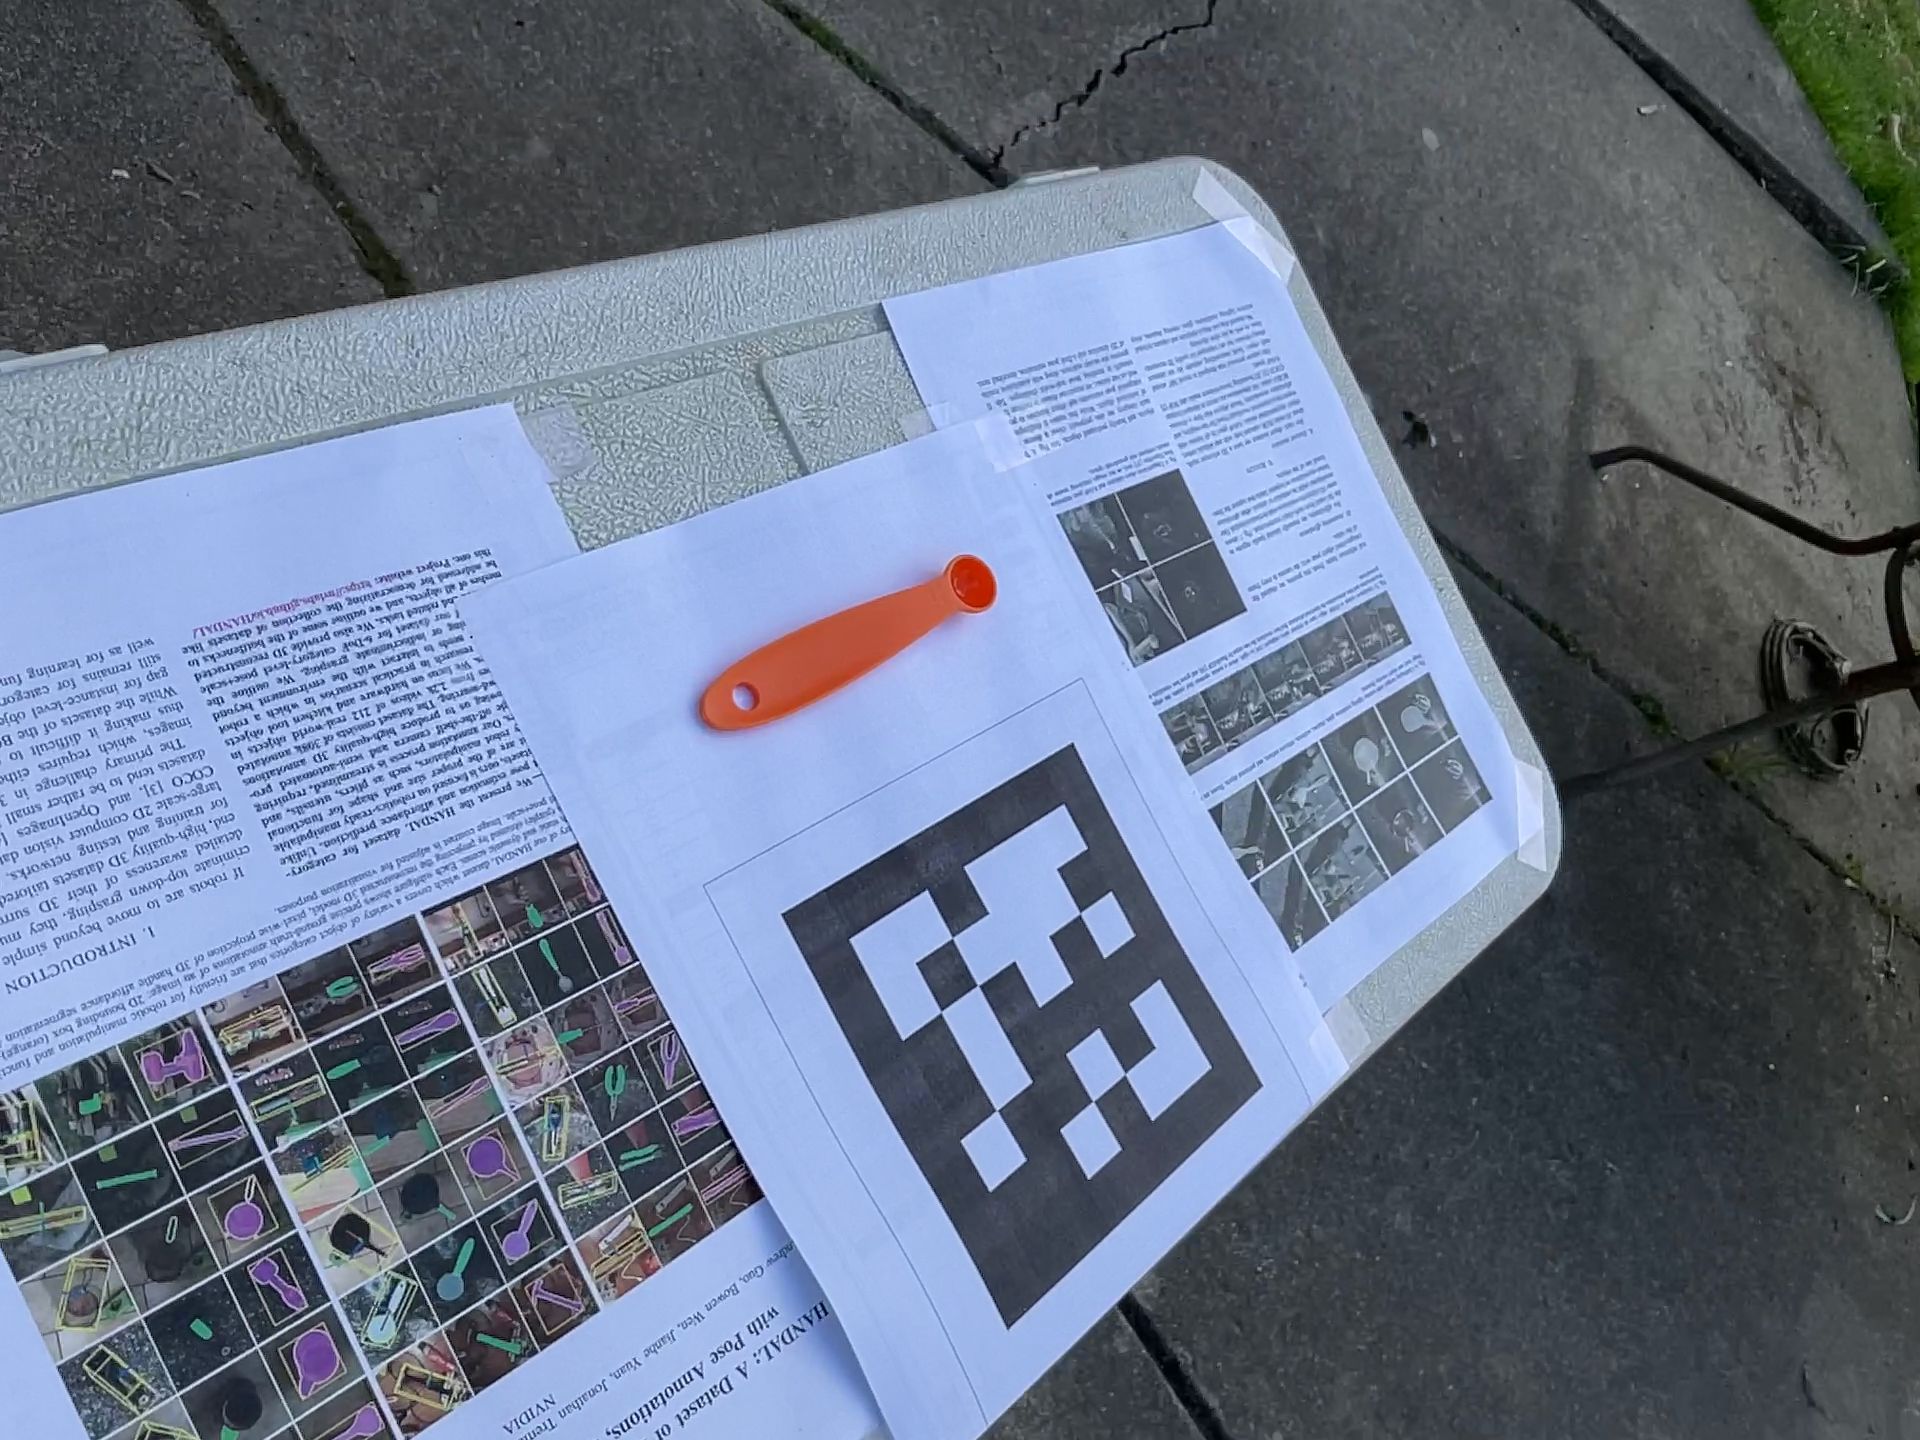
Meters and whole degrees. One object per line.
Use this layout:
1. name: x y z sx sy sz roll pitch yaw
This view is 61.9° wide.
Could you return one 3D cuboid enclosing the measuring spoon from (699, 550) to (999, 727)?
1. measuring spoon: -0.032 -0.024 0.475 0.117 0.011 0.021 -30 92 -38
